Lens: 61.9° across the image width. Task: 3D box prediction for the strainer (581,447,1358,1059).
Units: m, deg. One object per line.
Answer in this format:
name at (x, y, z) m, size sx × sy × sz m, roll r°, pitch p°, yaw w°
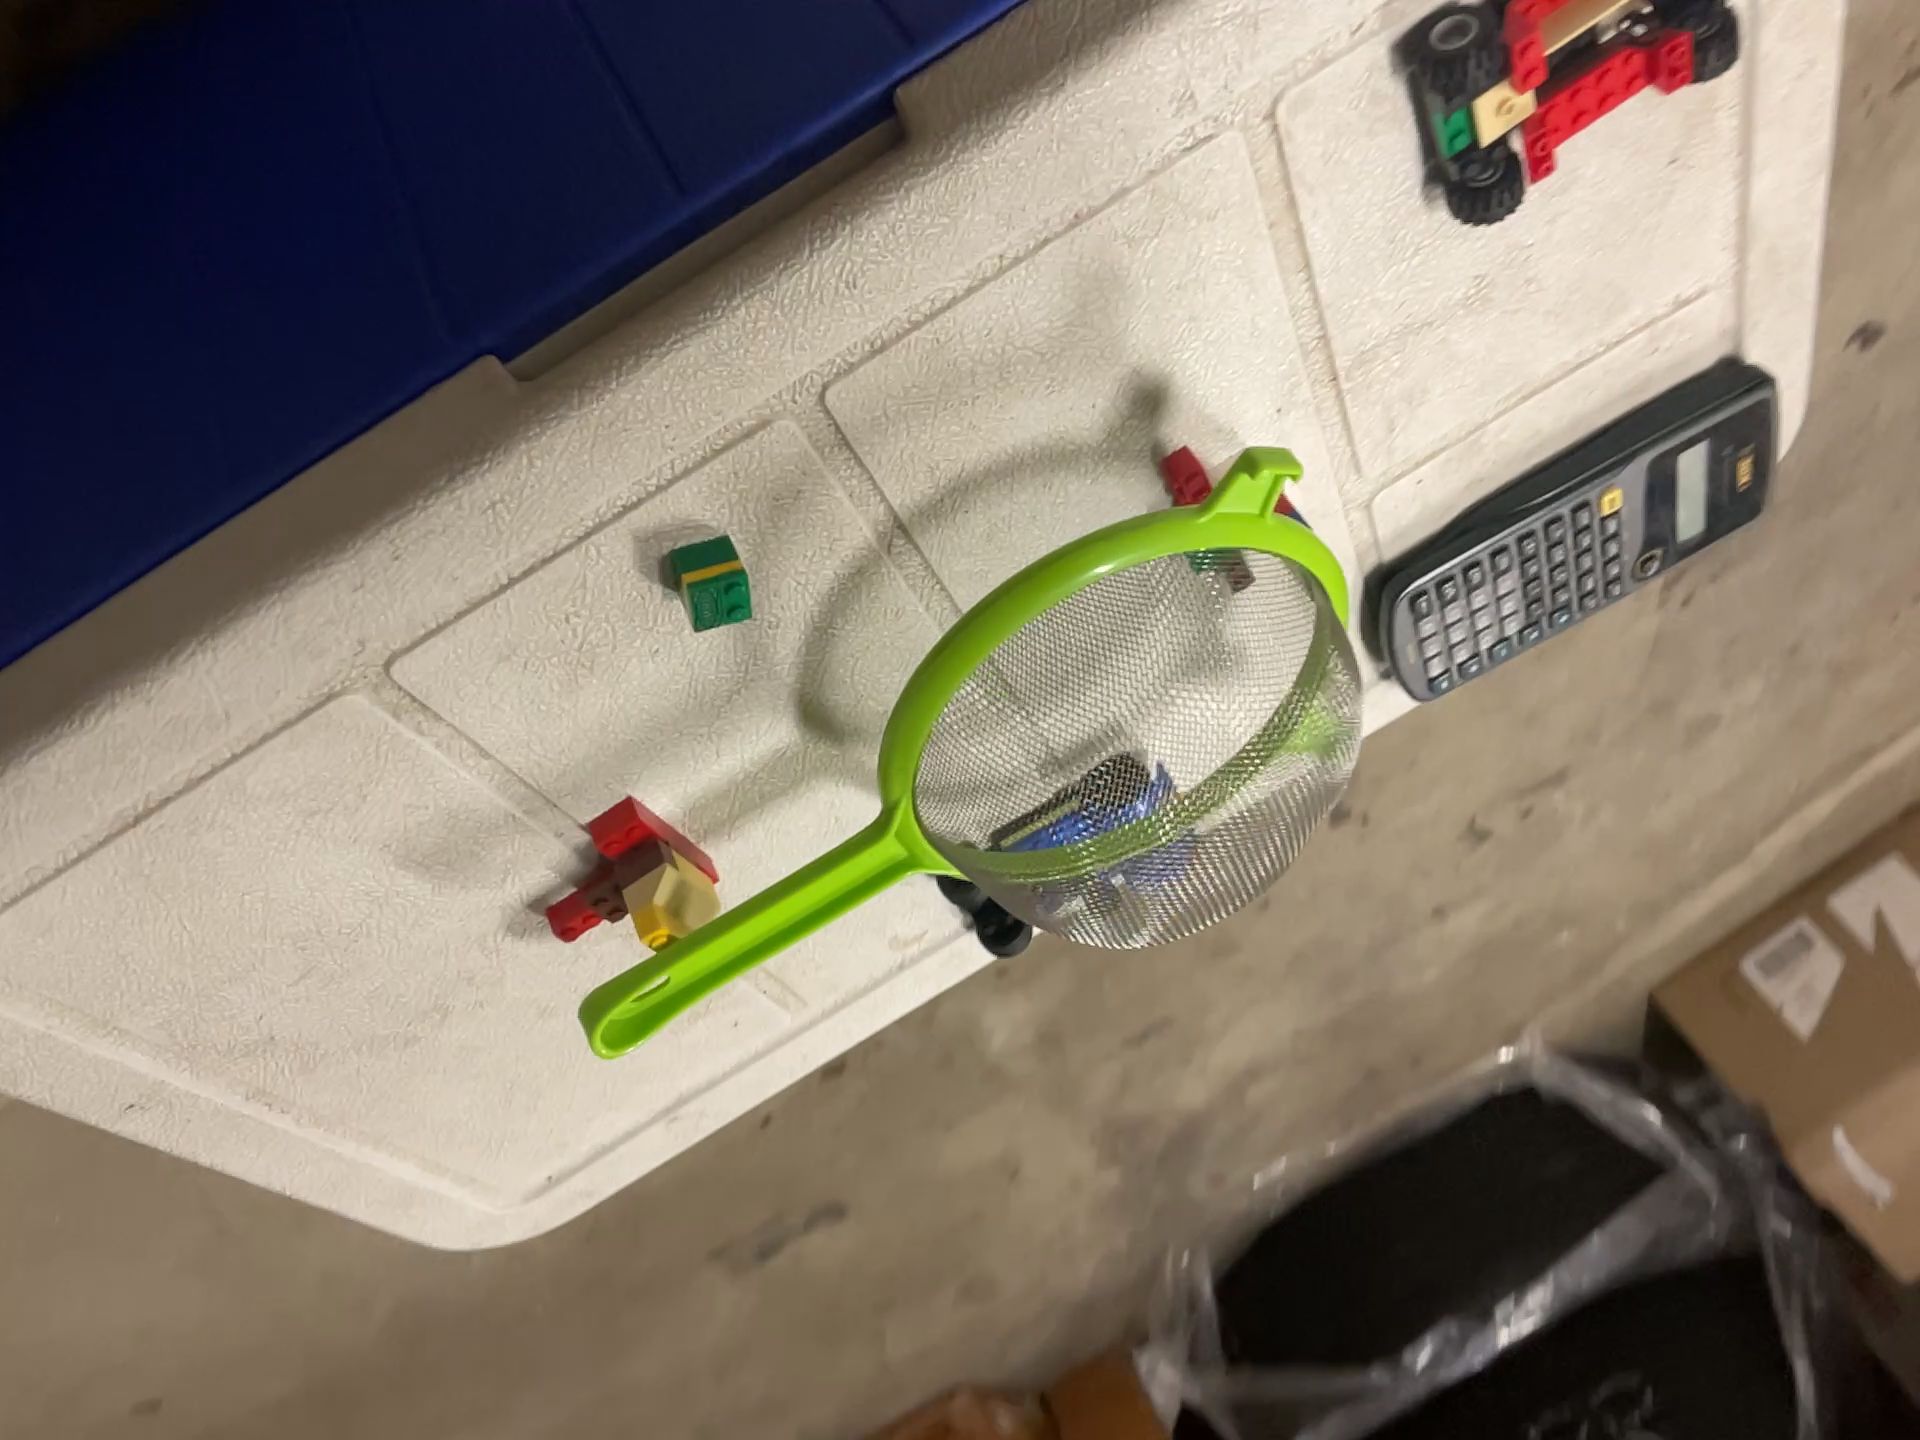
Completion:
strainer at (0.012, 0.043, 0.453) m, size 0.256 × 0.069 × 0.151 m, roll -31°, pitch 145°, yaw 0°
